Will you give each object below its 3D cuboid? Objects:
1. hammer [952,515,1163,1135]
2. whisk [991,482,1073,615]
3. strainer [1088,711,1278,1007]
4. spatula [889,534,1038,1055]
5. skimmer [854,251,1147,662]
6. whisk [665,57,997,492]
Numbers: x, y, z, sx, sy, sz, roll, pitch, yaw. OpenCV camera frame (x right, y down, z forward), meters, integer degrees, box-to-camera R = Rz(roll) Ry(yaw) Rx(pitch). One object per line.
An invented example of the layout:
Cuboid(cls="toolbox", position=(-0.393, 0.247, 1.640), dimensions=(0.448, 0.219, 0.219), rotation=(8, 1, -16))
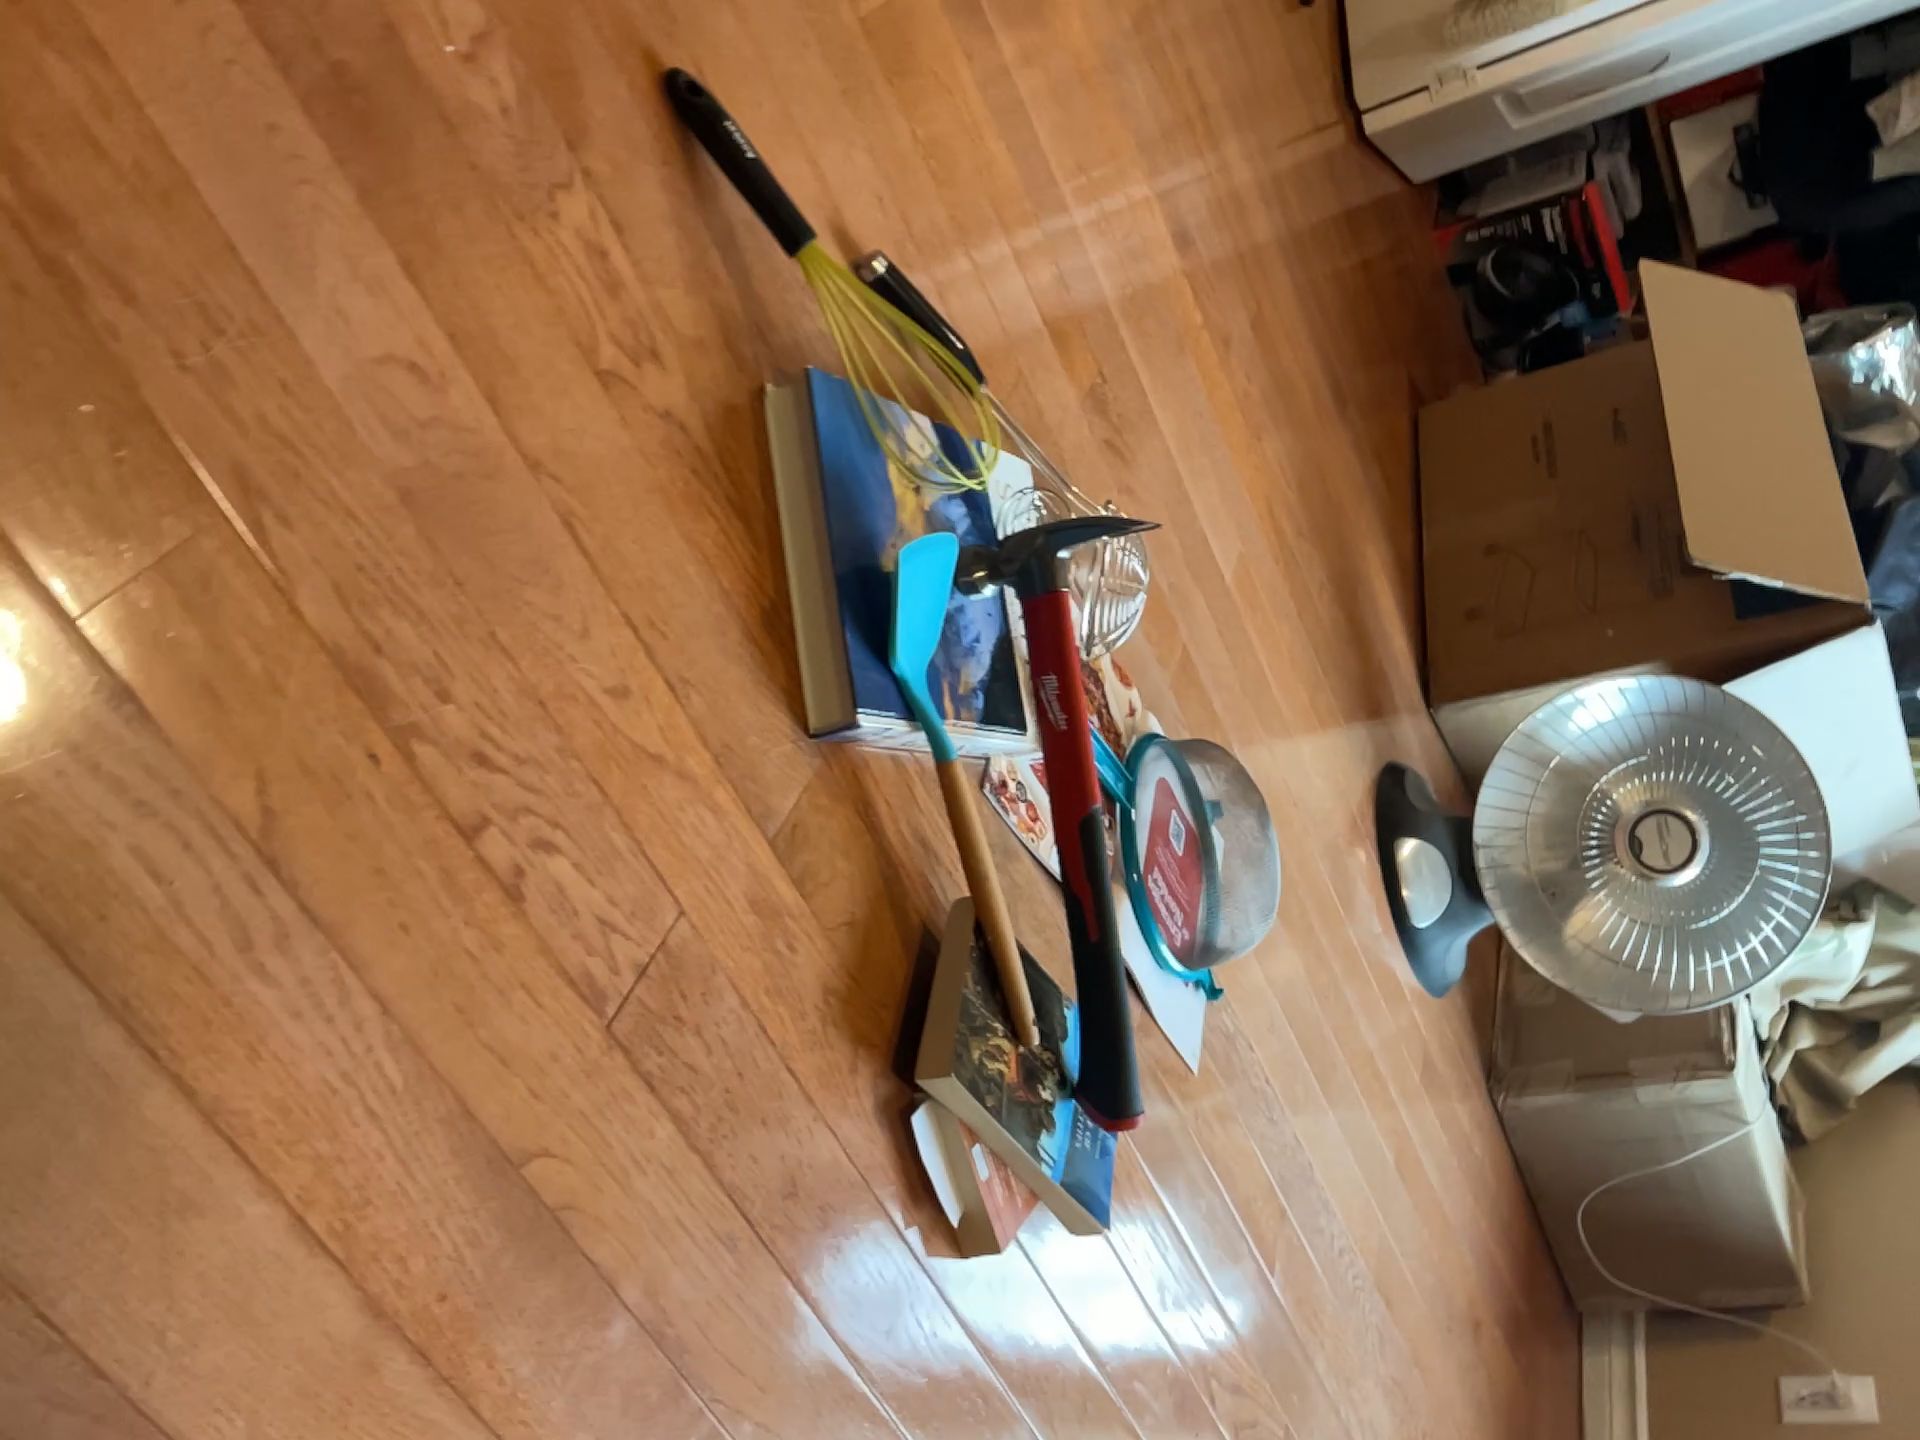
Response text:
Cuboid(cls="hammer", position=(0.087, 0.066, 1.009), dimensions=(0.038, 0.143, 0.386), rotation=(-4, 84, -58))
Cuboid(cls="whisk", position=(0.063, -0.043, 1.102), dimensions=(0.059, 0.058, 0.246), rotation=(166, -84, -88))
Cuboid(cls="strainer", position=(0.182, 0.076, 1.263), dimensions=(0.340, 0.095, 0.211), rotation=(52, 37, -49))
Cuboid(cls="spatula", position=(0.007, 0.049, 0.955), dimensions=(0.082, 0.044, 0.317), rotation=(-25, 100, -63))
Cuboid(cls="skimmer", position=(0.027, -0.191, 1.188), dimensions=(0.363, 0.090, 0.128), rotation=(44, 43, -28))
Cuboid(cls="whisk", position=(-0.079, -0.264, 0.964), dimensions=(0.311, 0.067, 0.080), rotation=(53, 49, -12))
